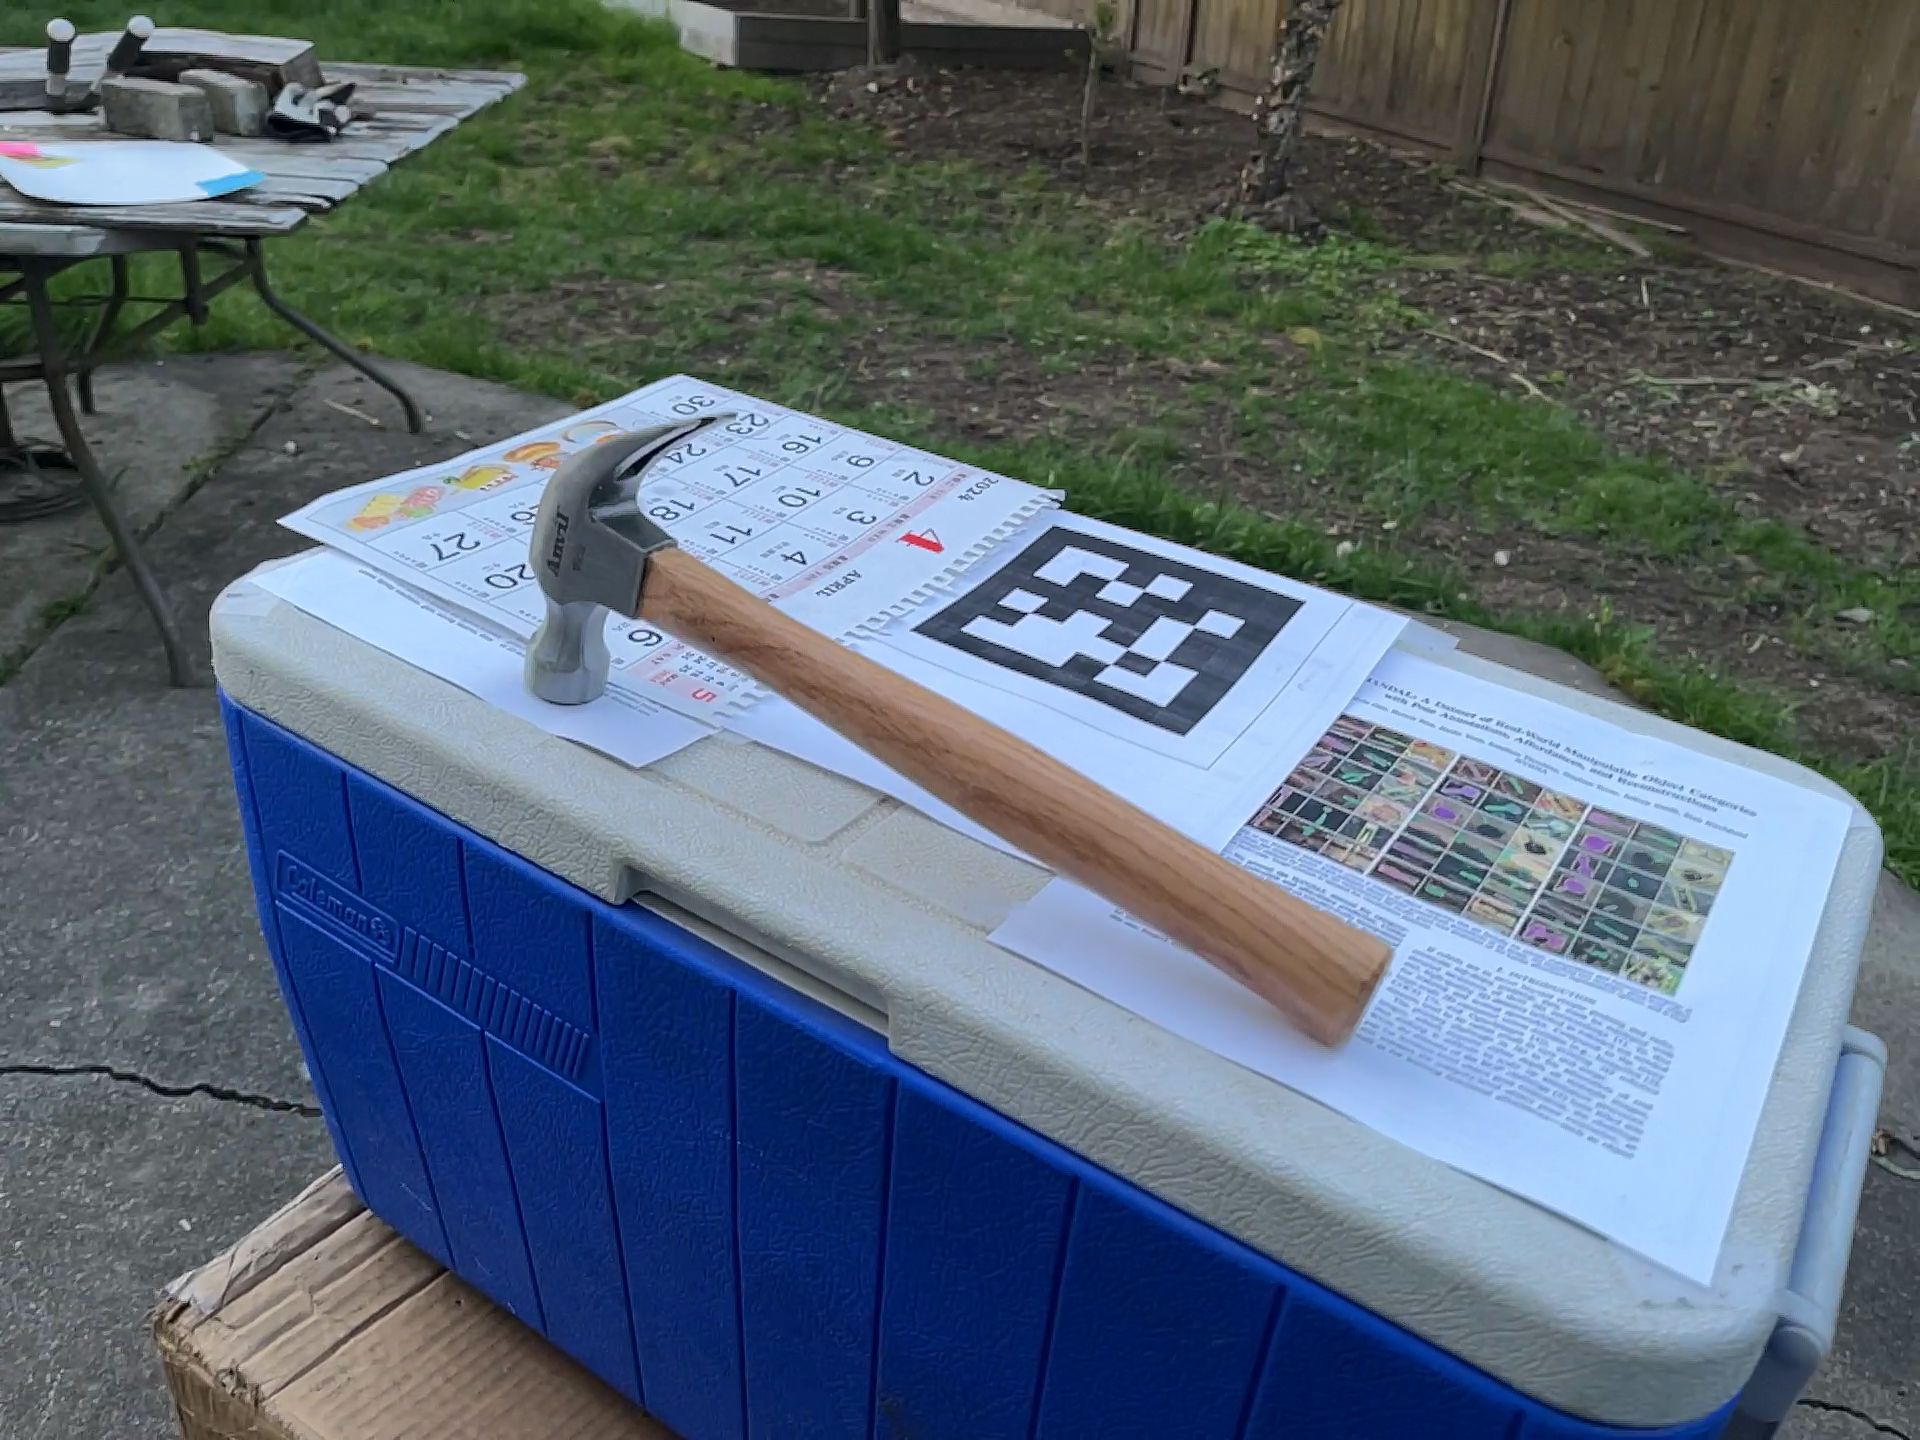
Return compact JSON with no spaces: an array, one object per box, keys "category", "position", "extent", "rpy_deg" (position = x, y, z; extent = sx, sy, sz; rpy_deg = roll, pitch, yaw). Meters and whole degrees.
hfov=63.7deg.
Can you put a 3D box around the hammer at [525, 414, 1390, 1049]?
[{"category":"hammer","position":[-0.014,0.003,0.509],"extent":[0.331,0.130,0.031],"rpy_deg":[30,33,20]}]
